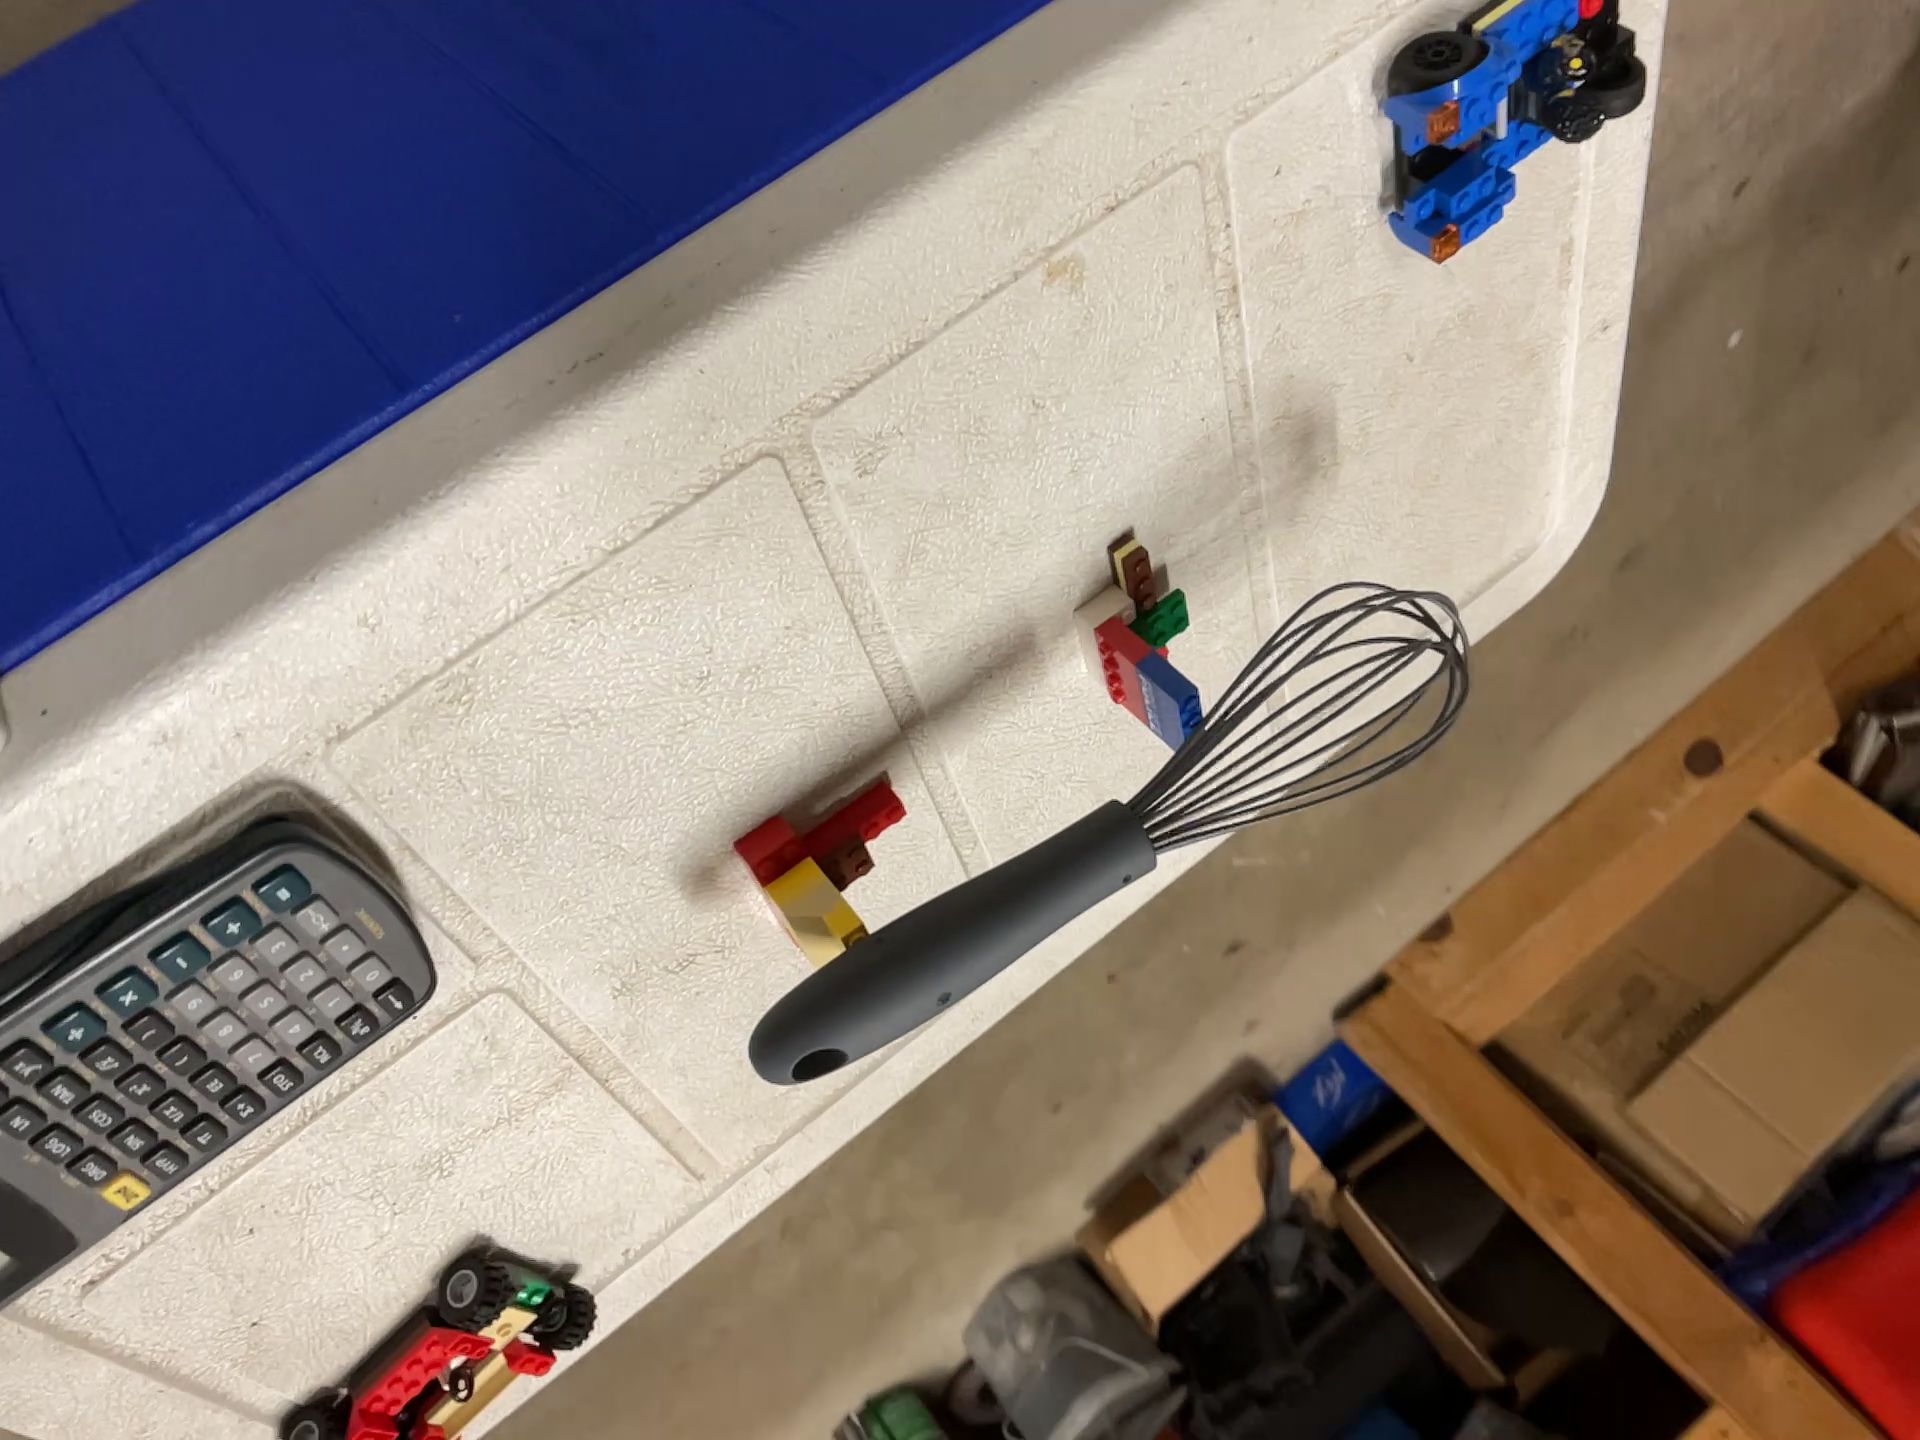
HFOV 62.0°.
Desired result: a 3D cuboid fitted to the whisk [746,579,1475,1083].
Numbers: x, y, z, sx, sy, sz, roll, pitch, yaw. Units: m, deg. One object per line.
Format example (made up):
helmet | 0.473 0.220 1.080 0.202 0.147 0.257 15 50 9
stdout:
whisk | 0.045 0.030 0.443 0.239 0.055 0.055 -31 140 -11
